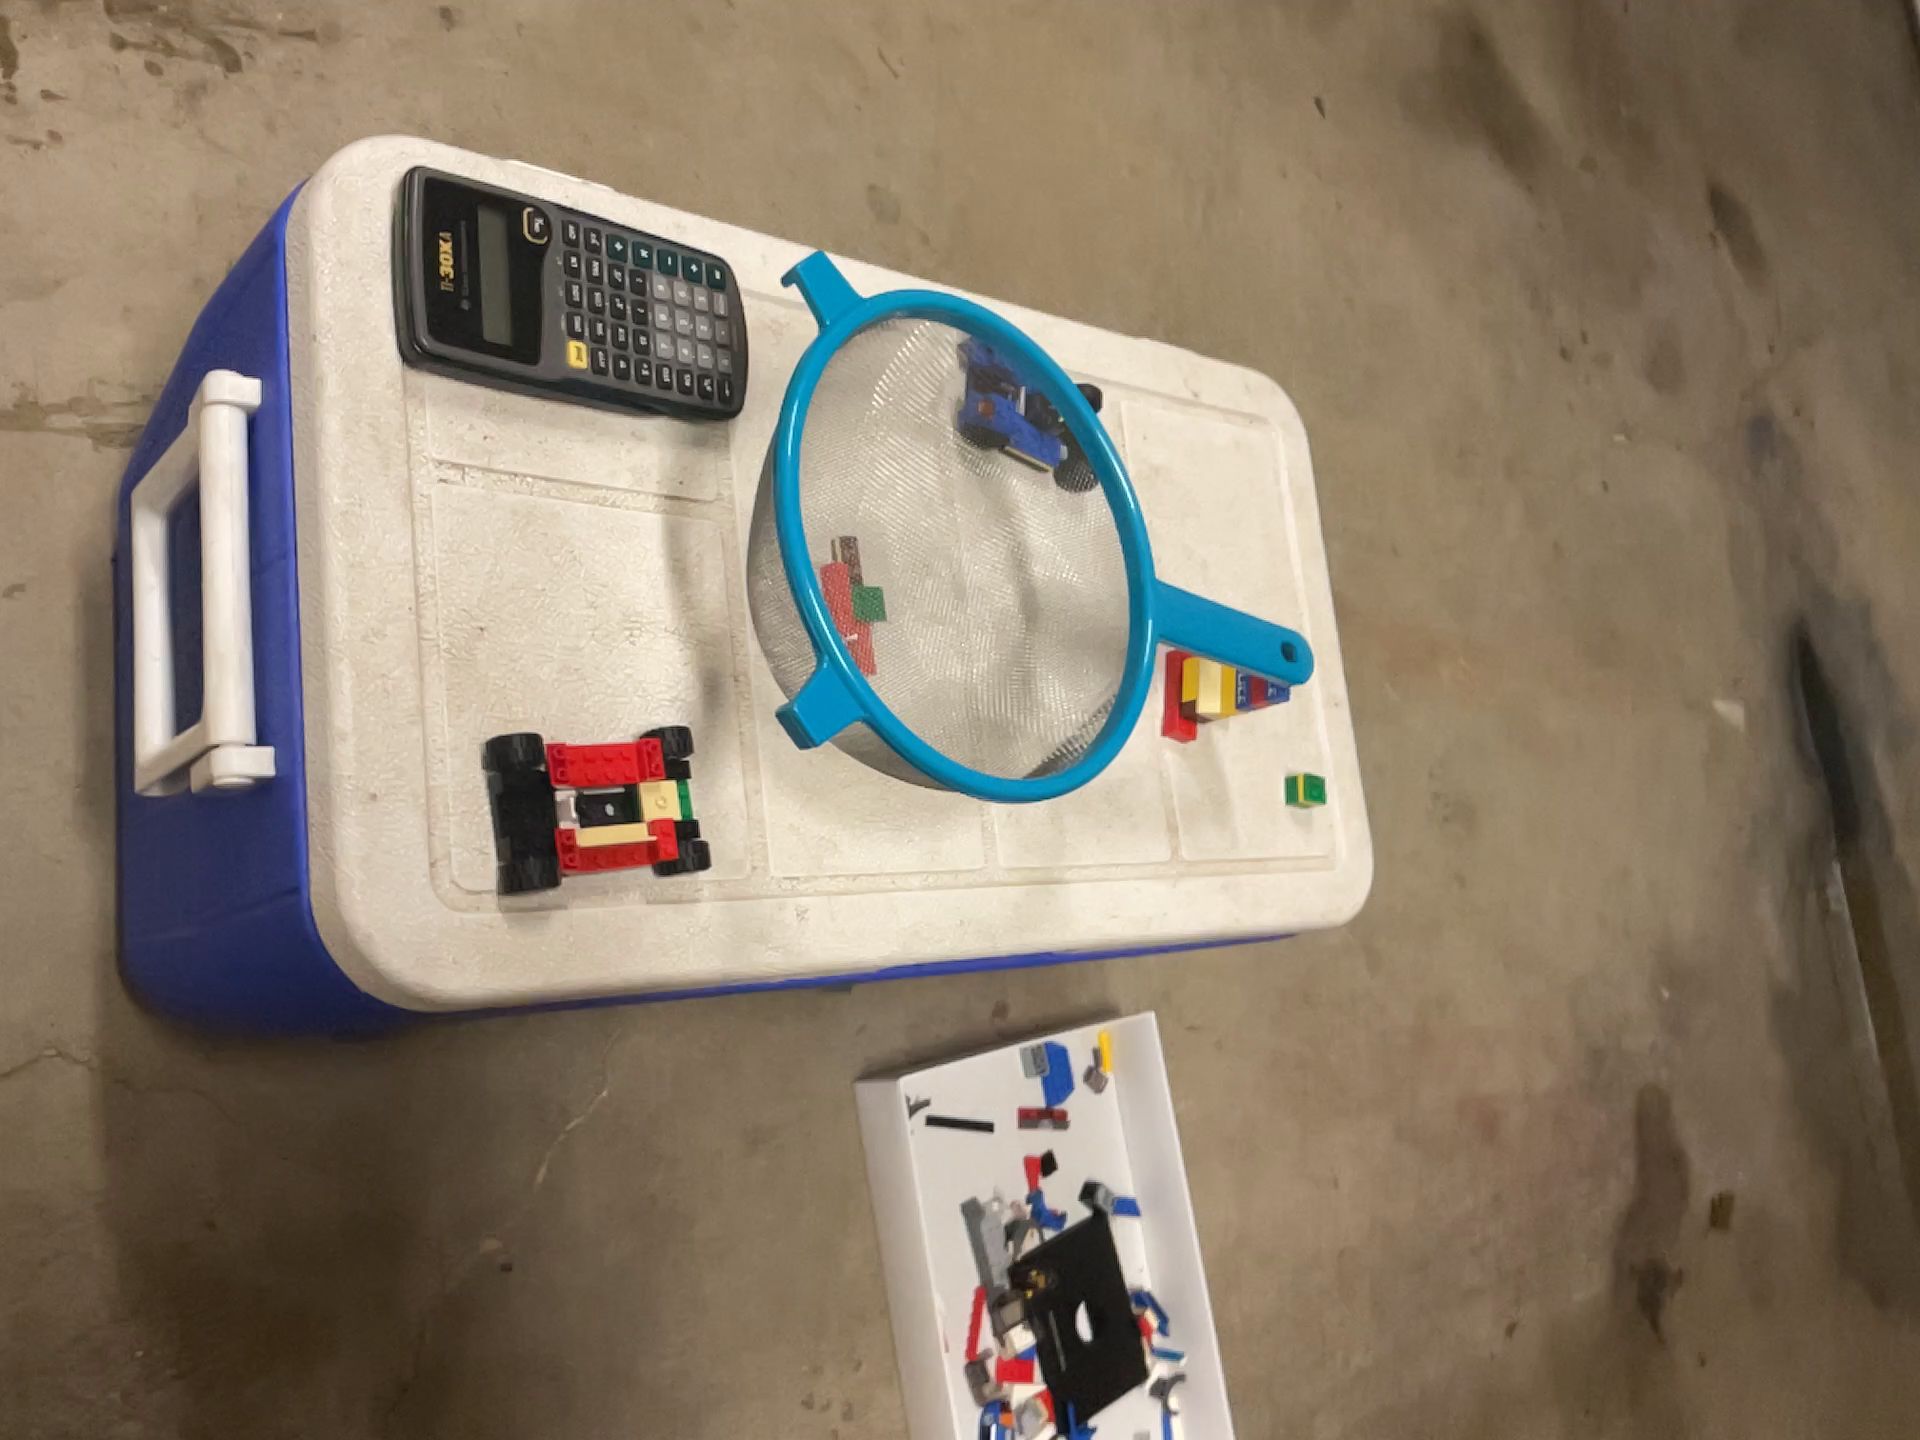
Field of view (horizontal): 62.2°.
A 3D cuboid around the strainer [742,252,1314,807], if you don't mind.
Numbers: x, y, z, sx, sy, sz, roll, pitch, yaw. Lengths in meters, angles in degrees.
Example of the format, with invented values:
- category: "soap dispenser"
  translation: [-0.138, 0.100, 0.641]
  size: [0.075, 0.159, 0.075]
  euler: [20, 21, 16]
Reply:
- category: "strainer"
  translation: [0.028, -0.050, 0.705]
  size: [0.340, 0.095, 0.211]
  euler: [14, 68, -44]
